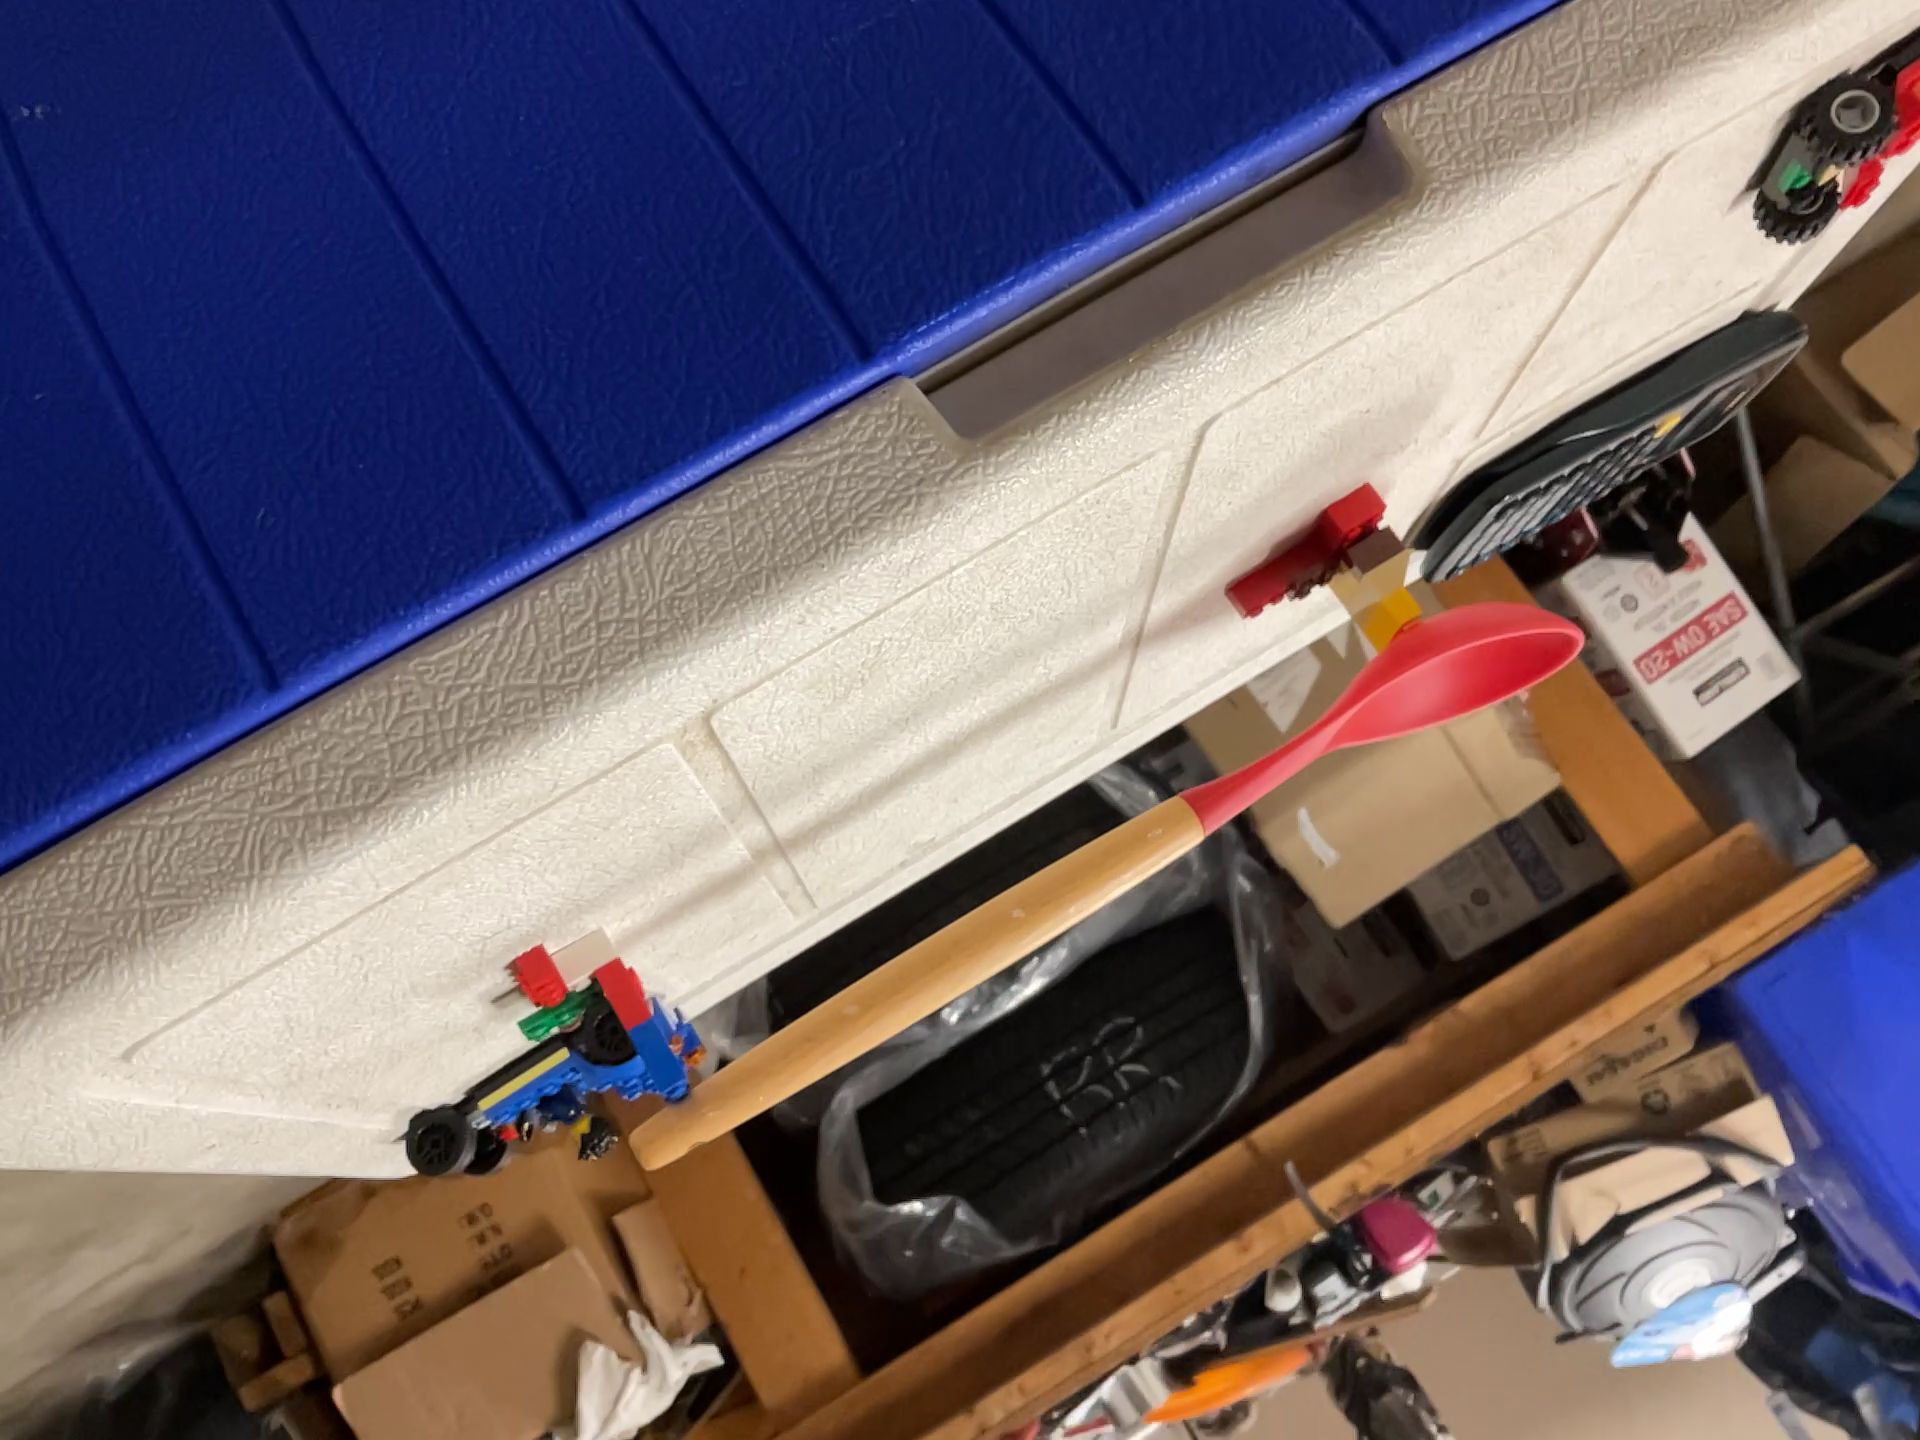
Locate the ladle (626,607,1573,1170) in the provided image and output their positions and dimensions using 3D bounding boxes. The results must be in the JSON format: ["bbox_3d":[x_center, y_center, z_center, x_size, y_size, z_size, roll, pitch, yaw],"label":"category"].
[{"bbox_3d":[0.045,0.043,0.468,0.315,0.031,0.069,-29,160,-11],"label":"ladle"}]
